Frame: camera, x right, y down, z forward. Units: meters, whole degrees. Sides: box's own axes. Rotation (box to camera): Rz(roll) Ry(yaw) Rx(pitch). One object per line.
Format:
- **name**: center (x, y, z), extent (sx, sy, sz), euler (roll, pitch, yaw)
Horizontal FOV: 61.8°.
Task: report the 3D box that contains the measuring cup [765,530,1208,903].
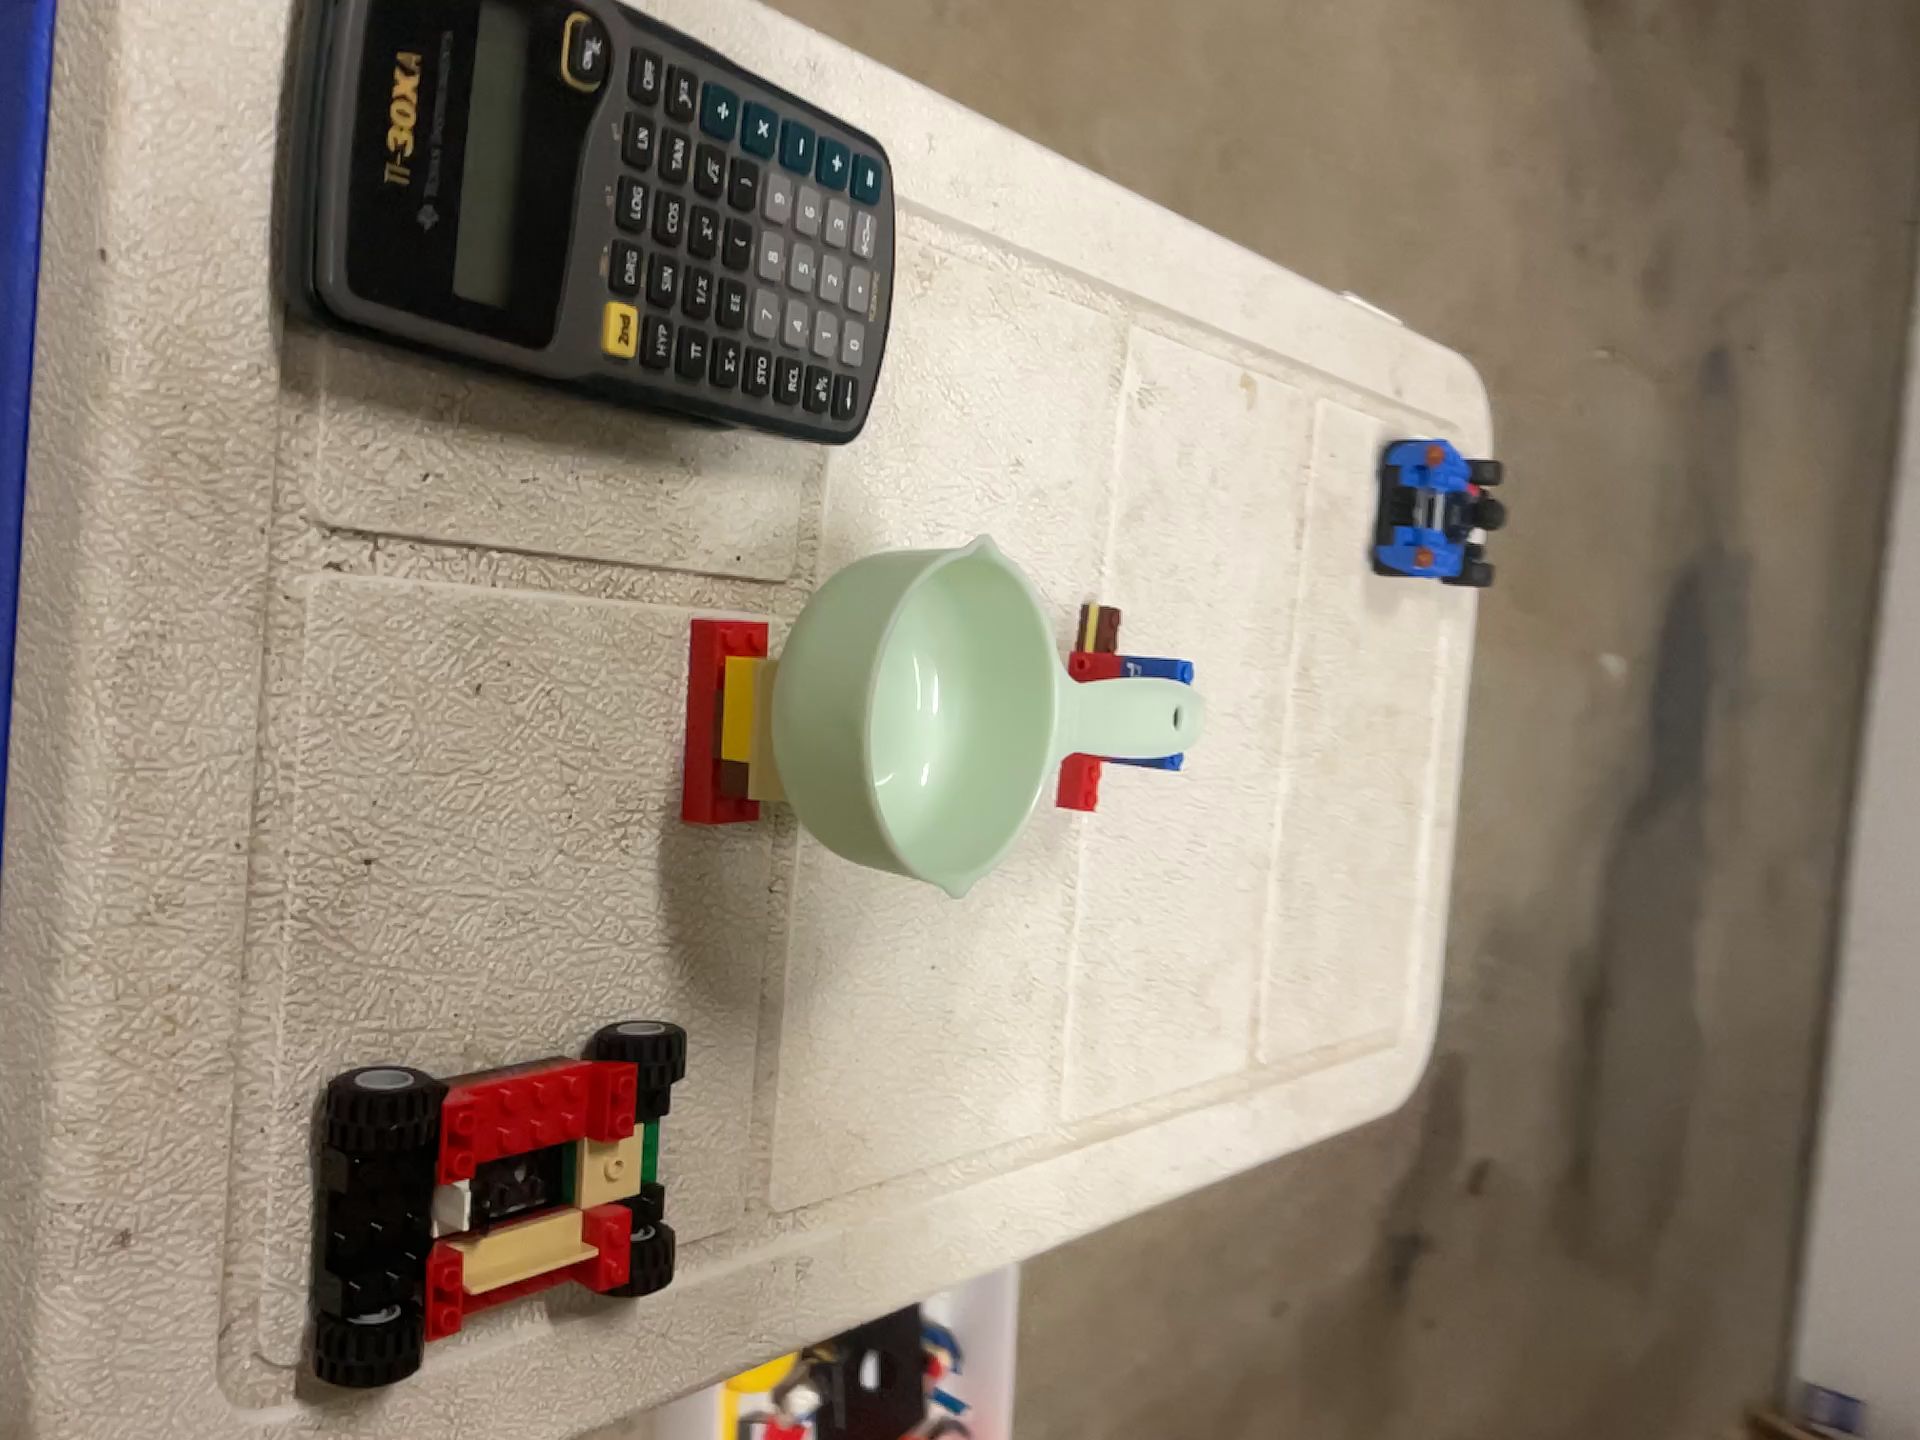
- **measuring cup**: center (0.013, -0.003, 0.404), extent (0.167, 0.038, 0.083), euler (-2, 96, -57)
